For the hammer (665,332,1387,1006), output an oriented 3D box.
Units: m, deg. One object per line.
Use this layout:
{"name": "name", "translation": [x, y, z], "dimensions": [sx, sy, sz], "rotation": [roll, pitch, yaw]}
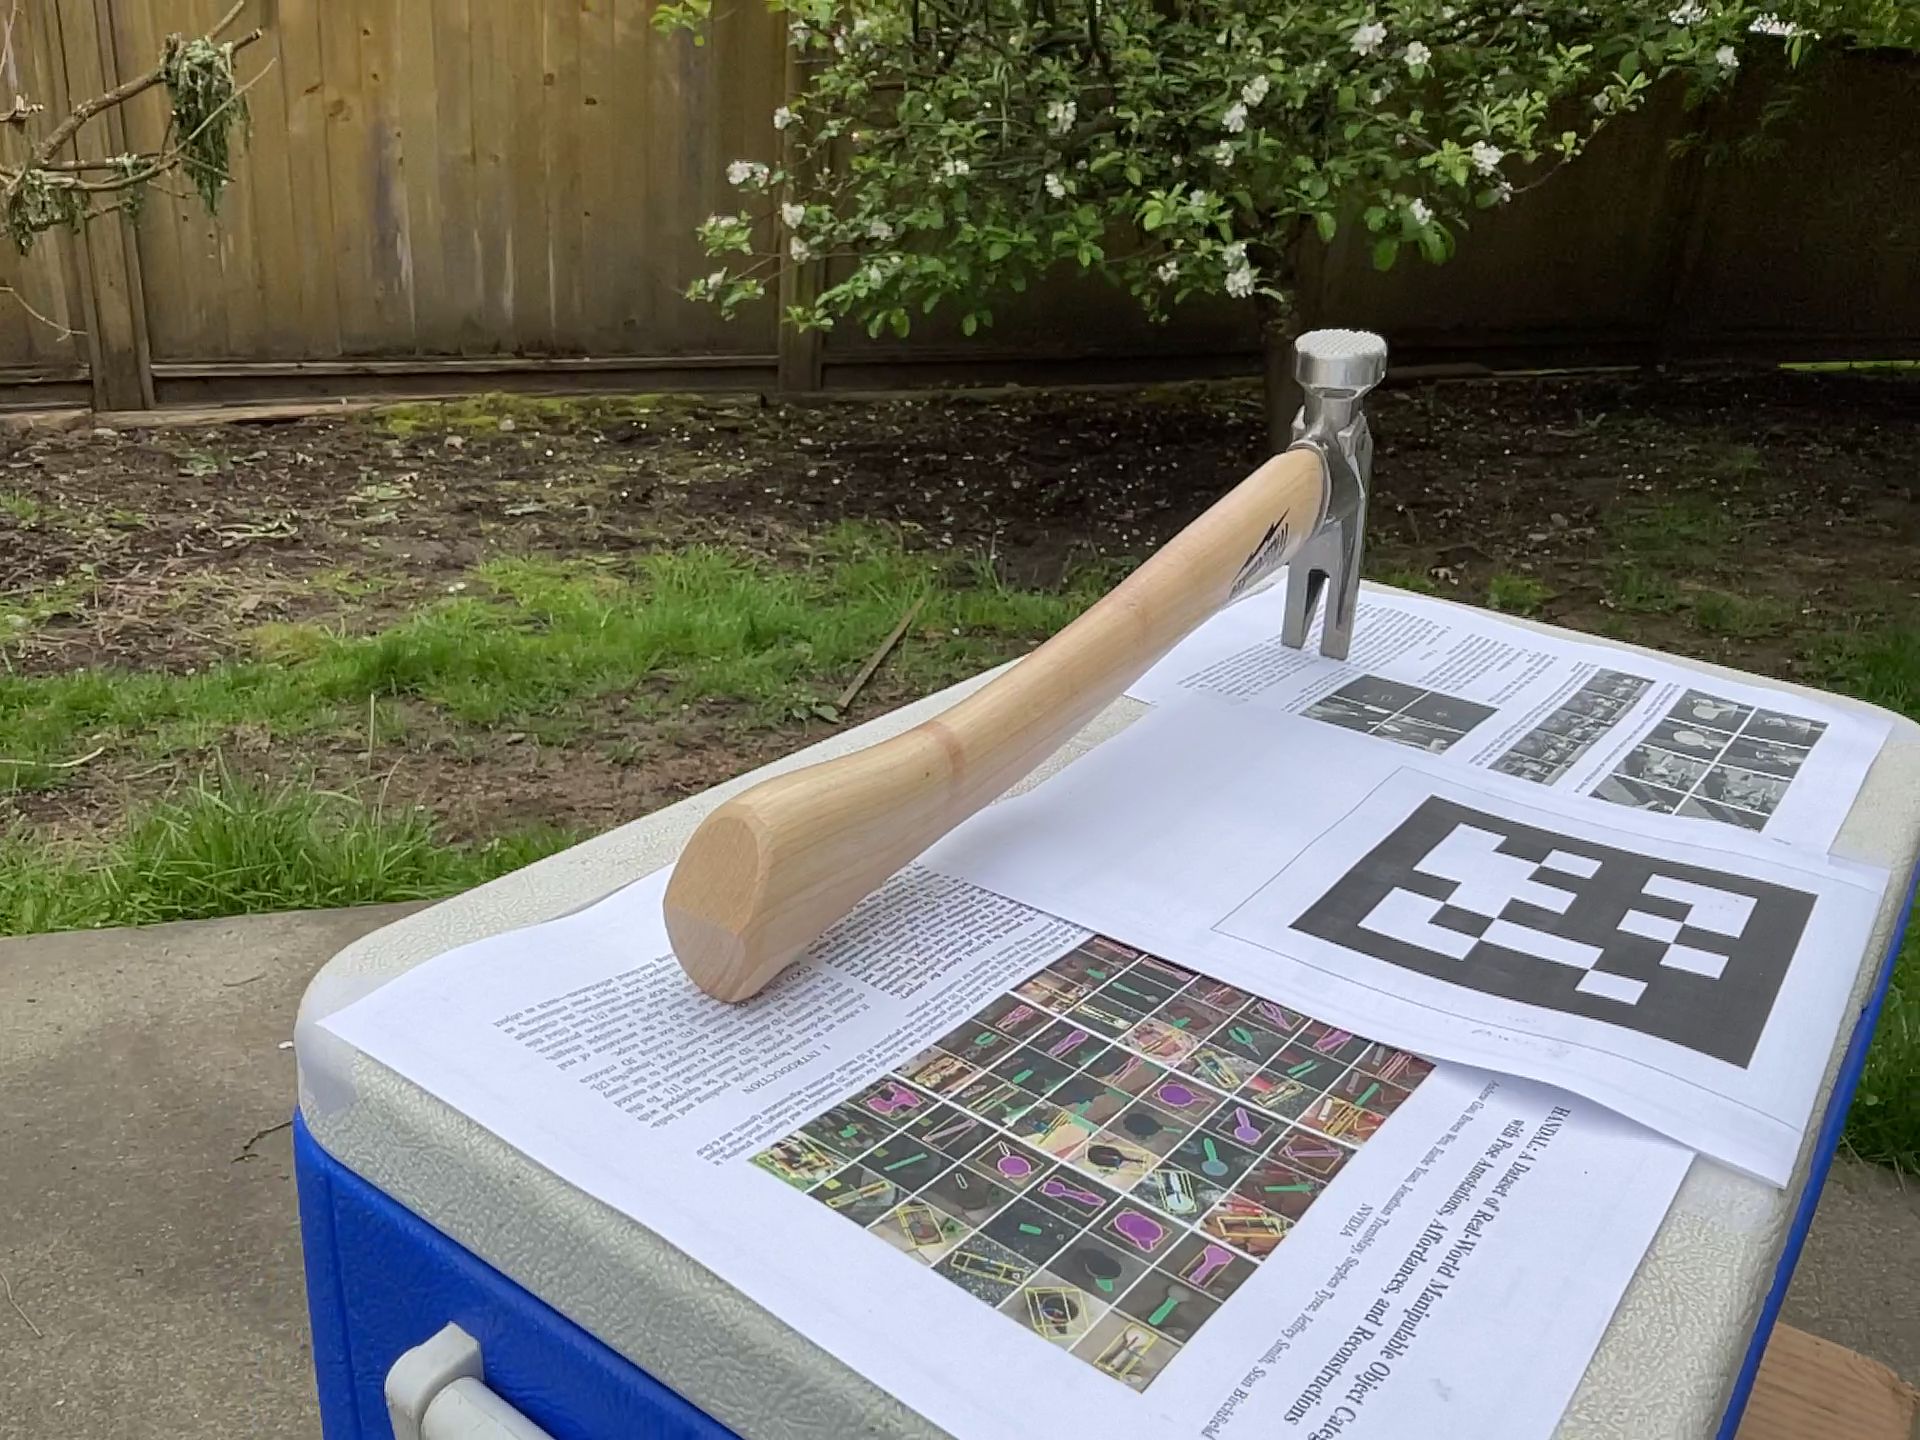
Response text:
{"name": "hammer", "translation": [0.052, -0.015, 0.566], "dimensions": [0.038, 0.146, 0.410], "rotation": [18, 35, 31]}
